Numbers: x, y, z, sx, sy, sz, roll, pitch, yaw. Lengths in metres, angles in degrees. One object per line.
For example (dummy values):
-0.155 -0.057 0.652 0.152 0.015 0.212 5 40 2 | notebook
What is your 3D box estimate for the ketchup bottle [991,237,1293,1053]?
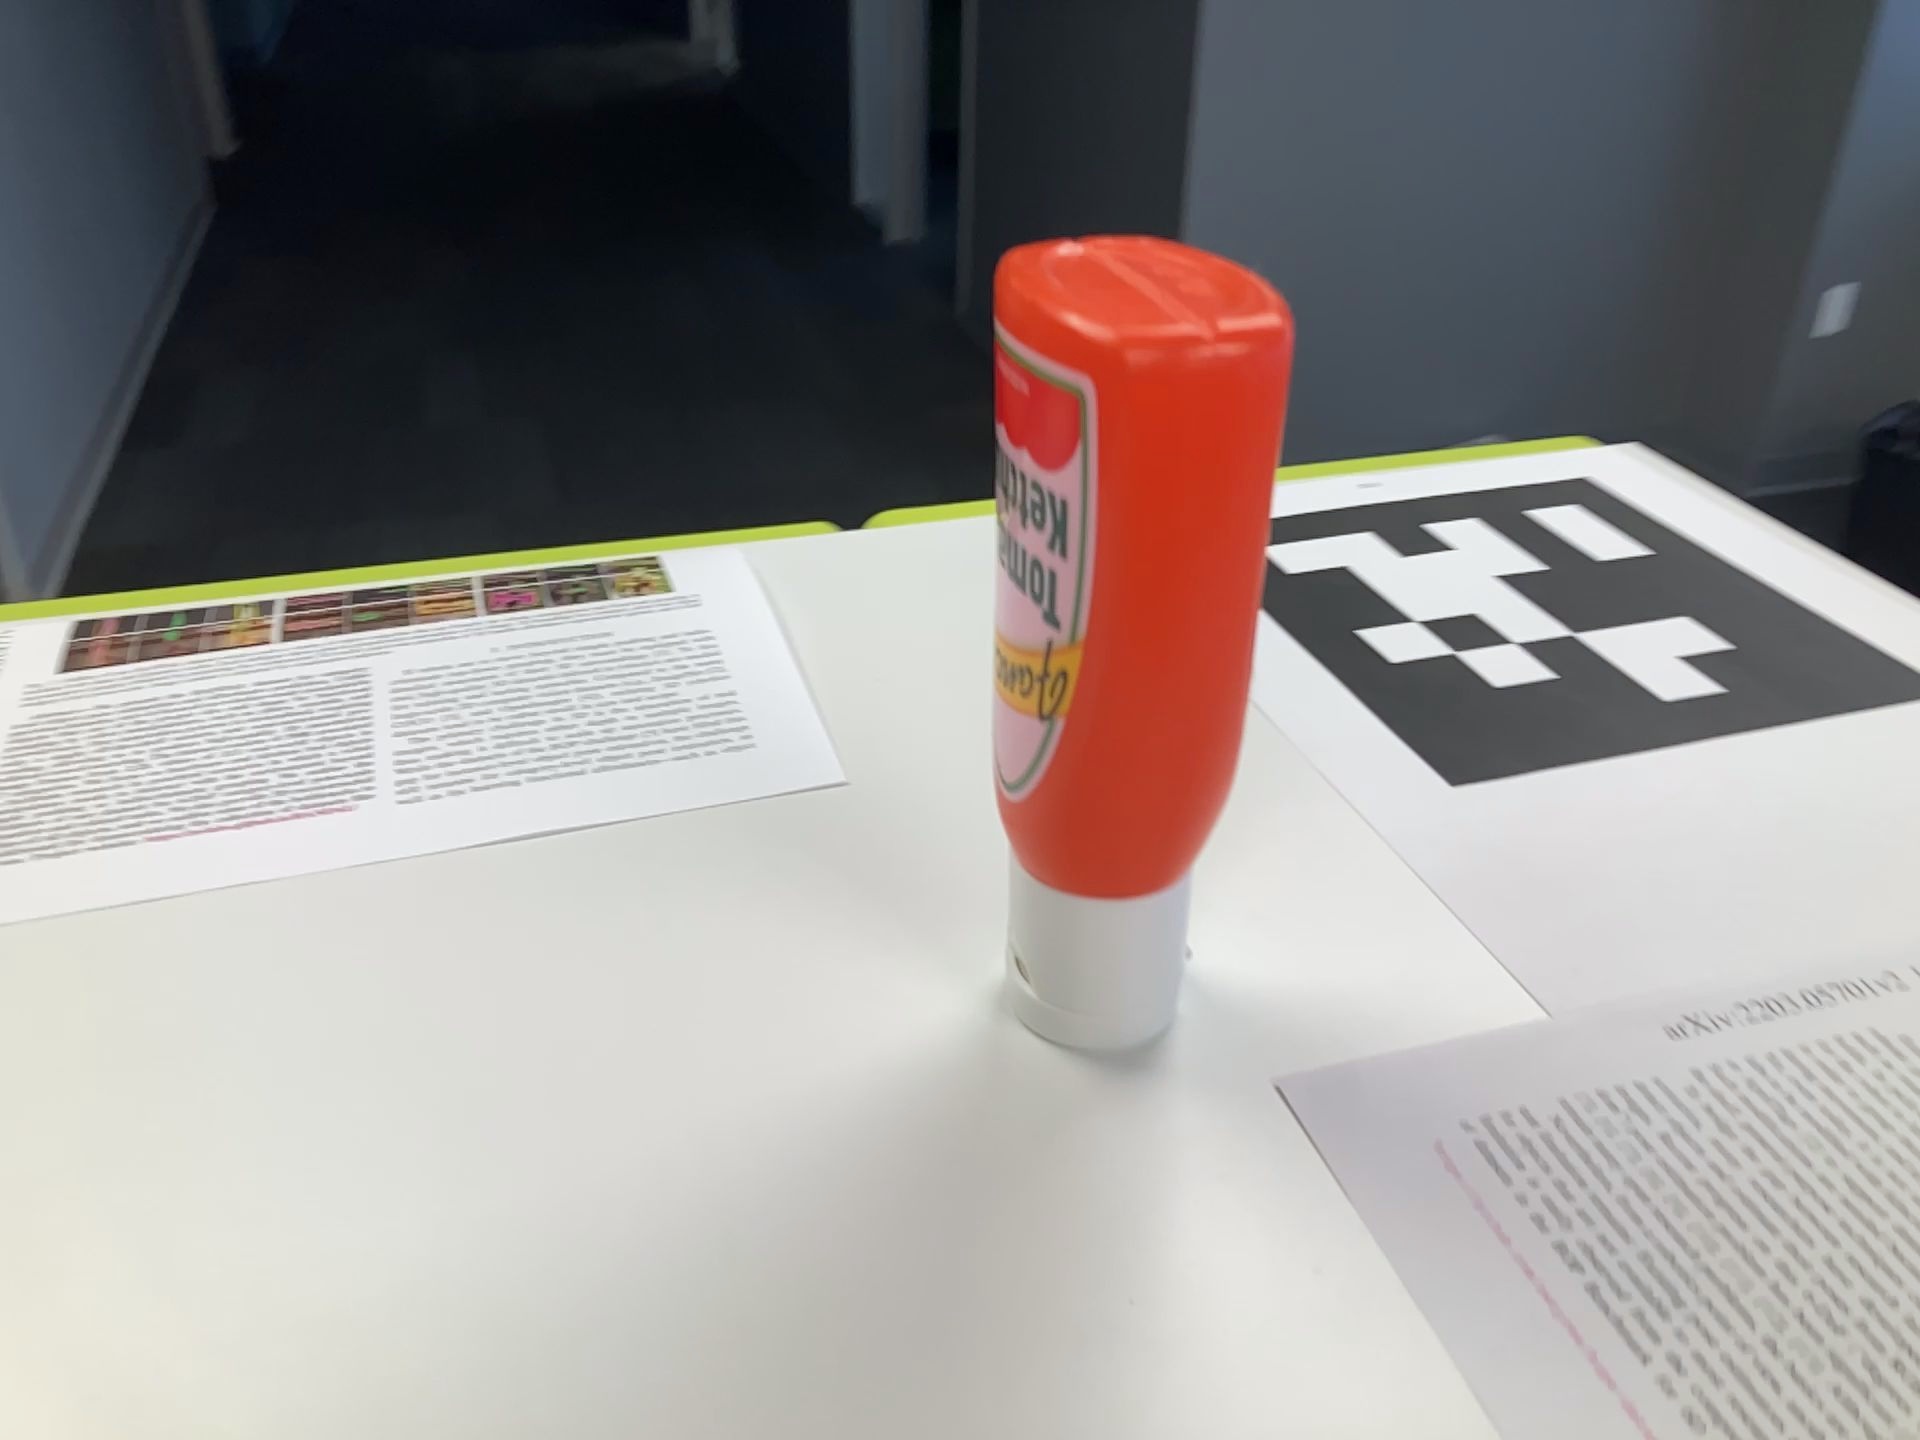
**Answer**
0.028 -0.007 0.290 0.043 0.149 0.065 -8 31 -14 | ketchup bottle
